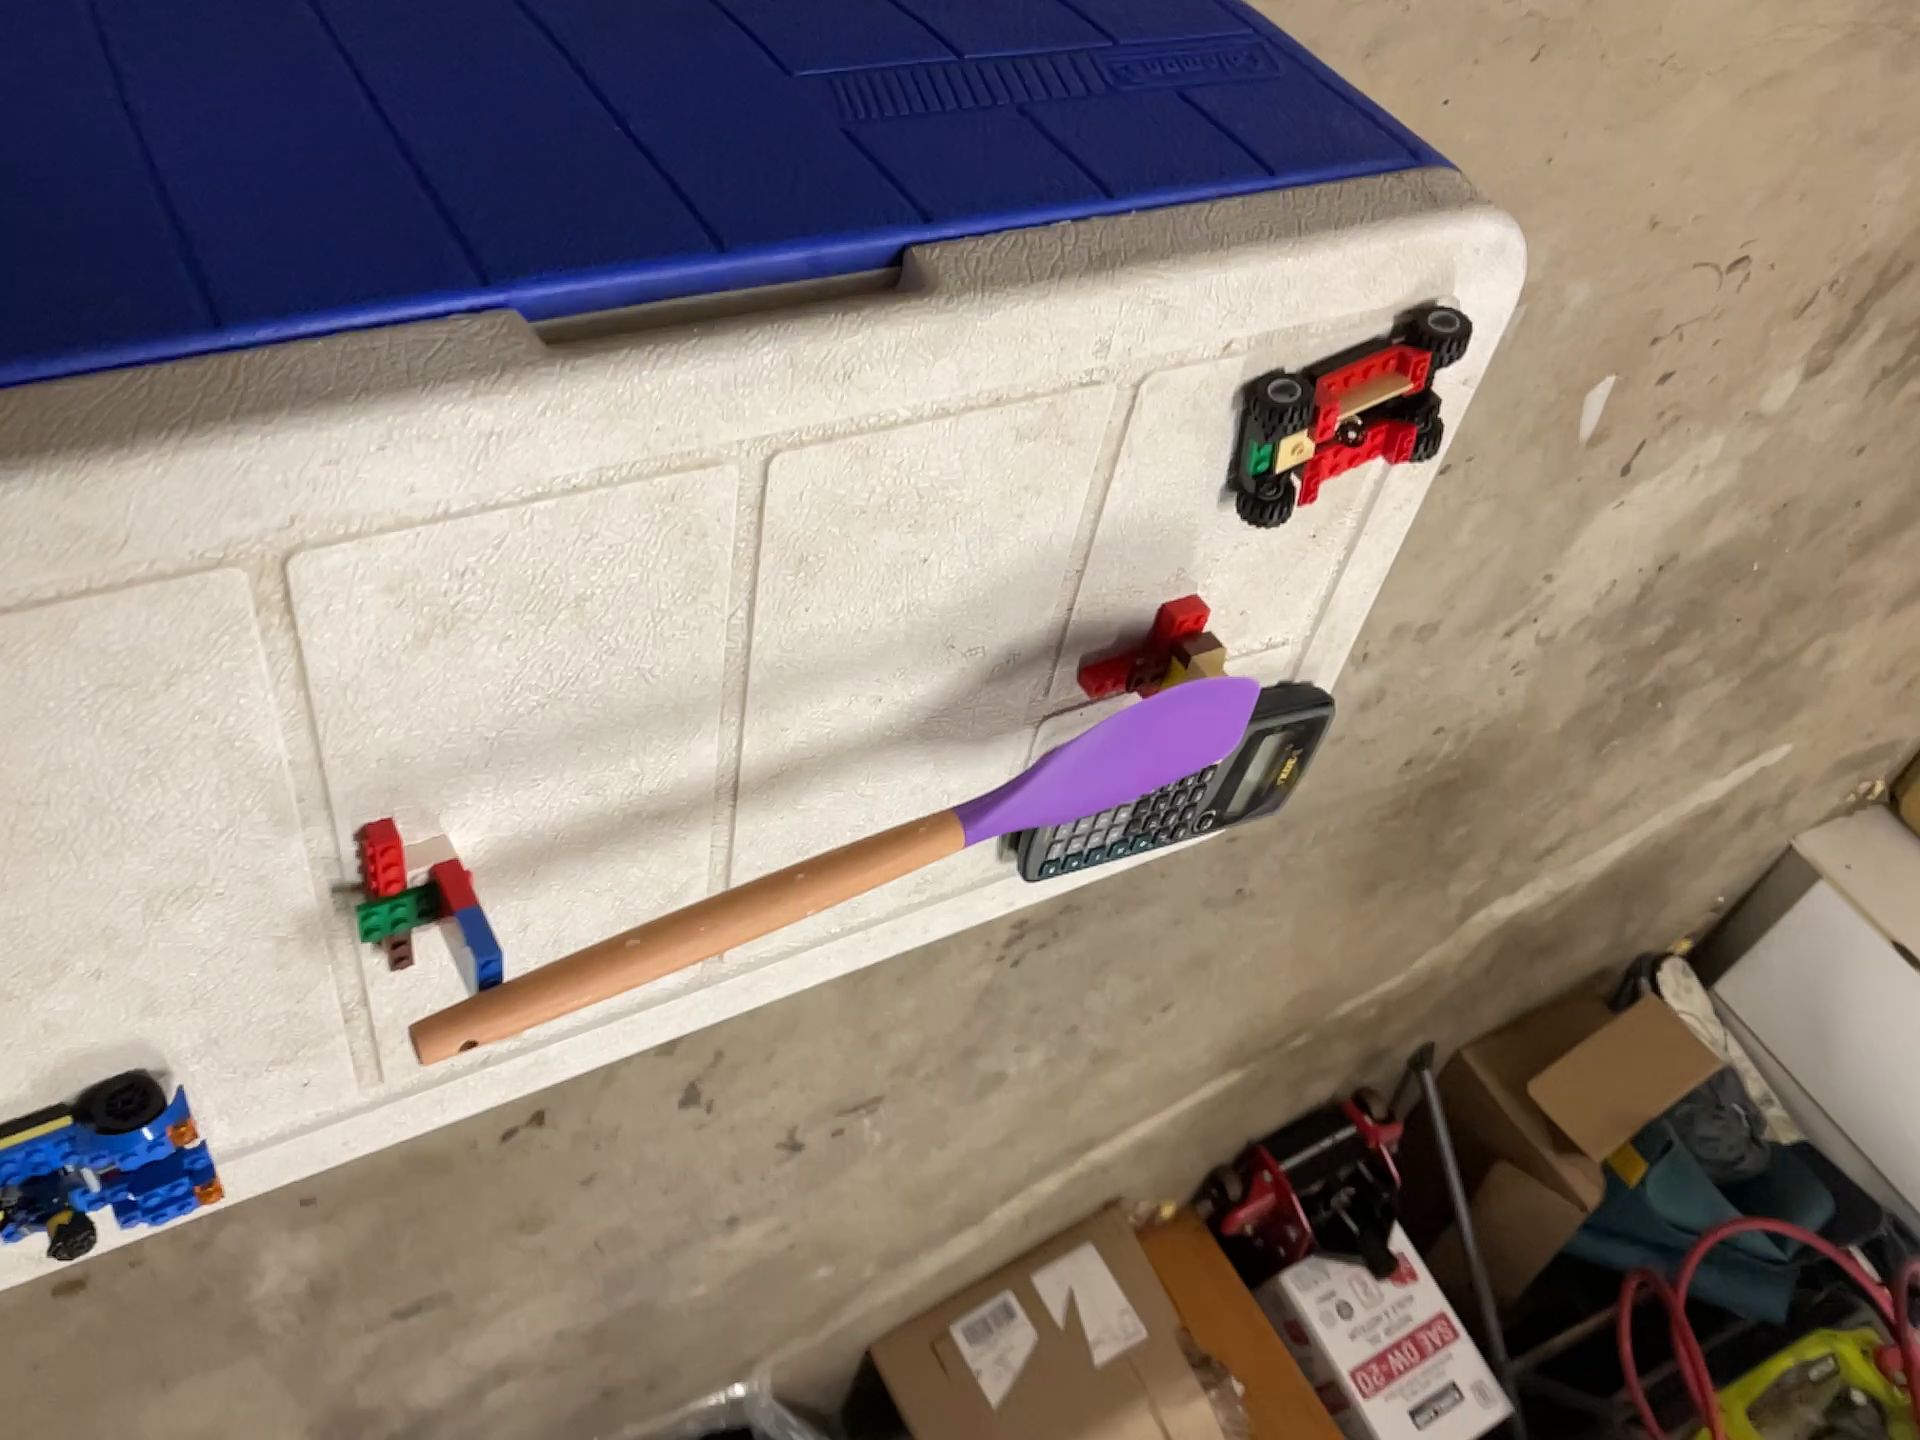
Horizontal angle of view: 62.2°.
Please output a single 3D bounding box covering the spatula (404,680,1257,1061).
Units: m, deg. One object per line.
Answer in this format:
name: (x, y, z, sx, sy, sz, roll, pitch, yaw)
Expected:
spatula: (-0.025, 0.043, 0.528, 0.316, 0.018, 0.059, -20, 145, -26)
